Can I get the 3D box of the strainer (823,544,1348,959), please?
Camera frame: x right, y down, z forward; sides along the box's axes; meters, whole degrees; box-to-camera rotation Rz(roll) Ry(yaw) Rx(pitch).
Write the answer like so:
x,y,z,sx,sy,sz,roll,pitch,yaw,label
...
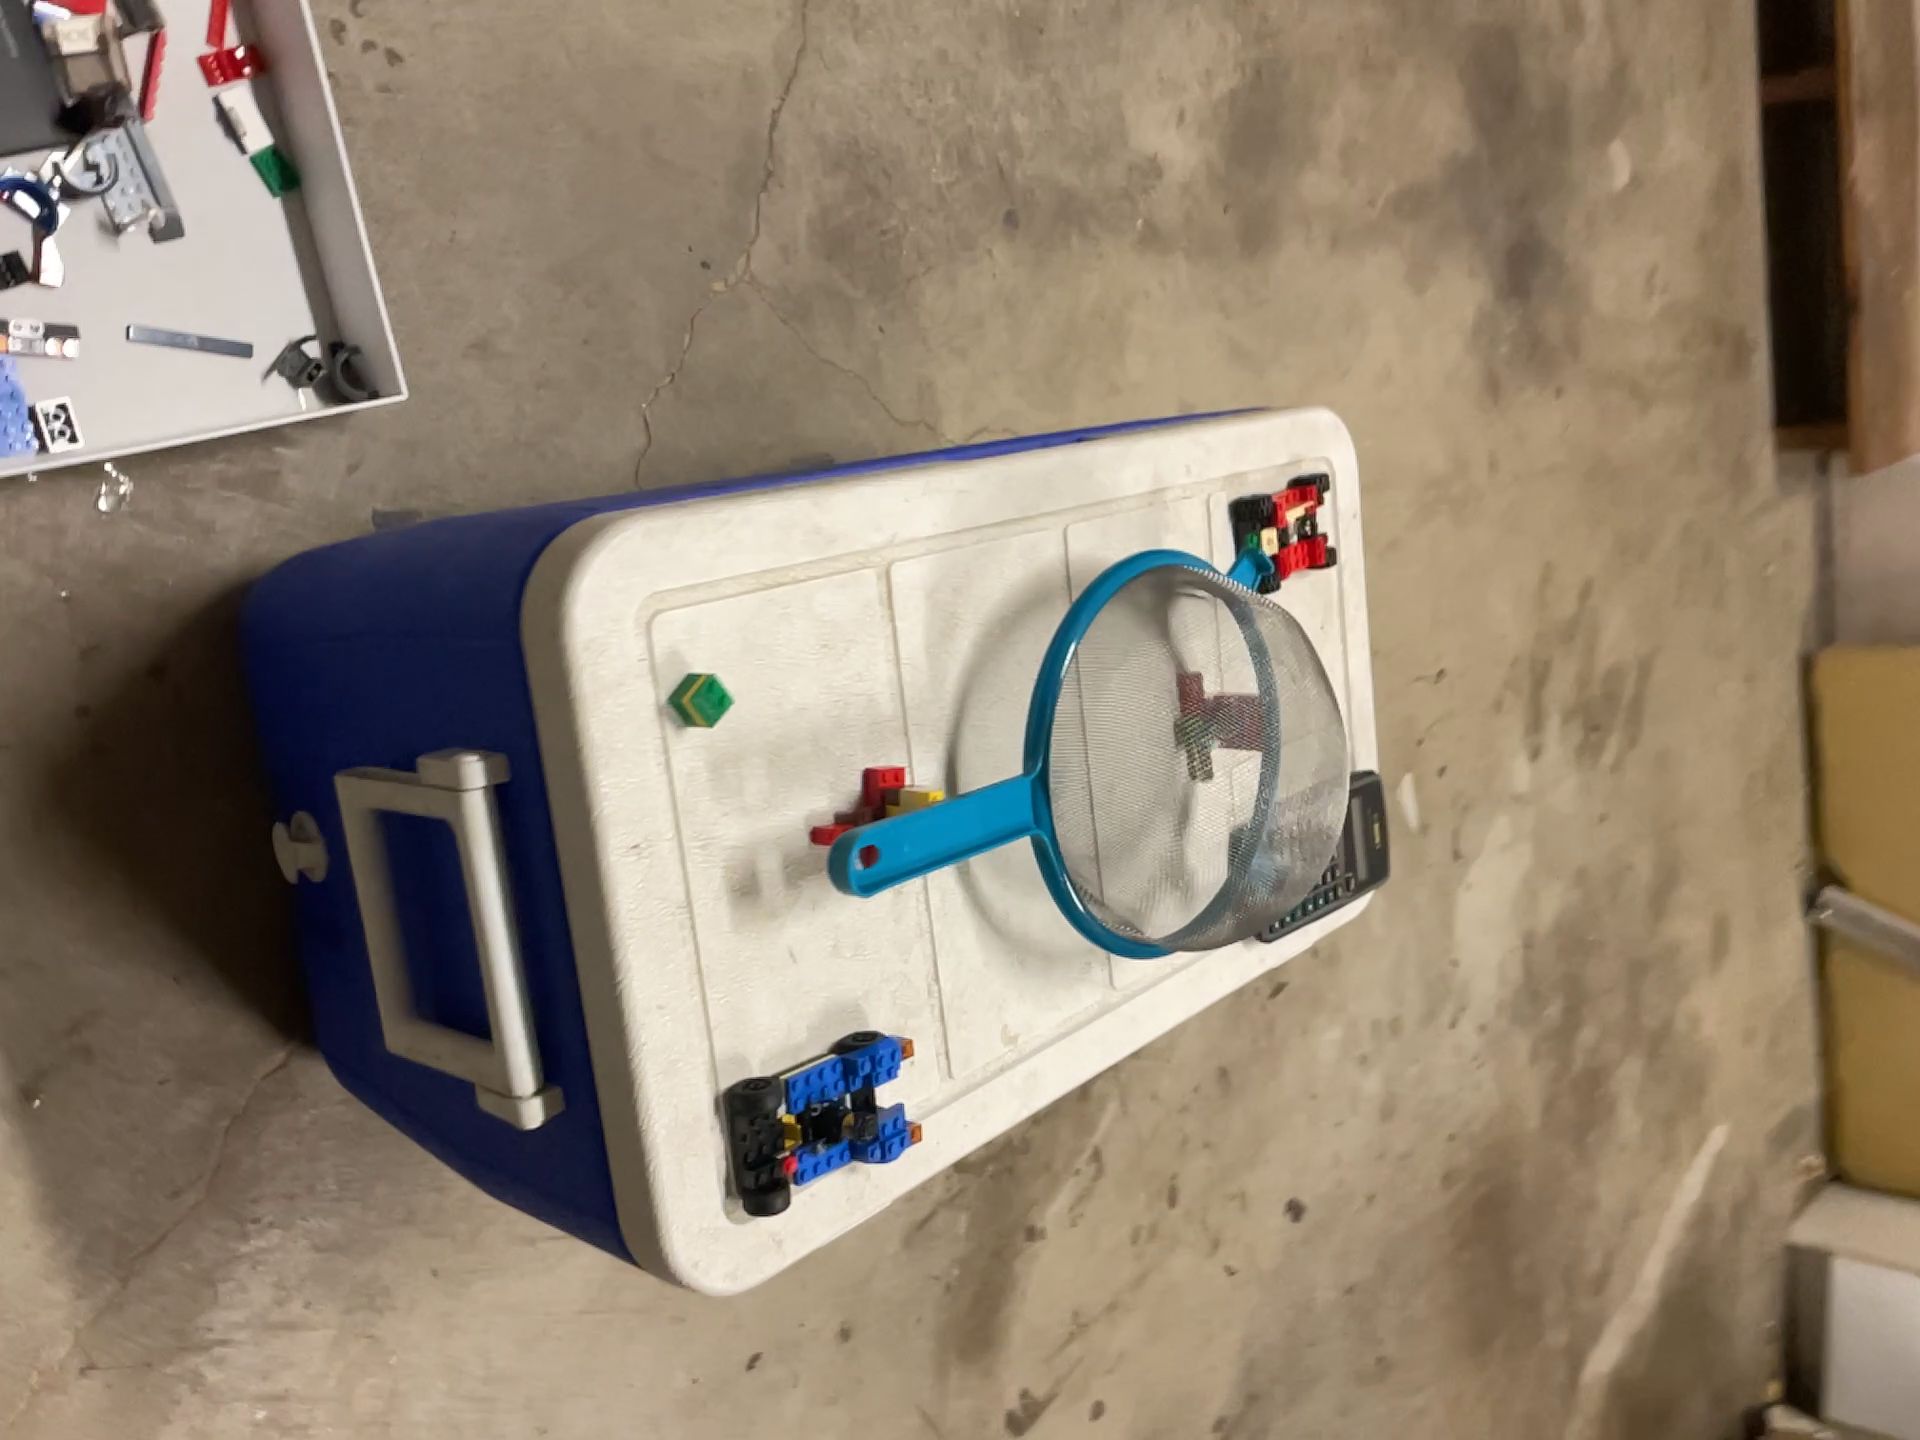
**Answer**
x,y,z,sx,sy,sz,roll,pitch,yaw,label
0.088,0.031,0.745,0.340,0.095,0.211,-16,104,-46,strainer
